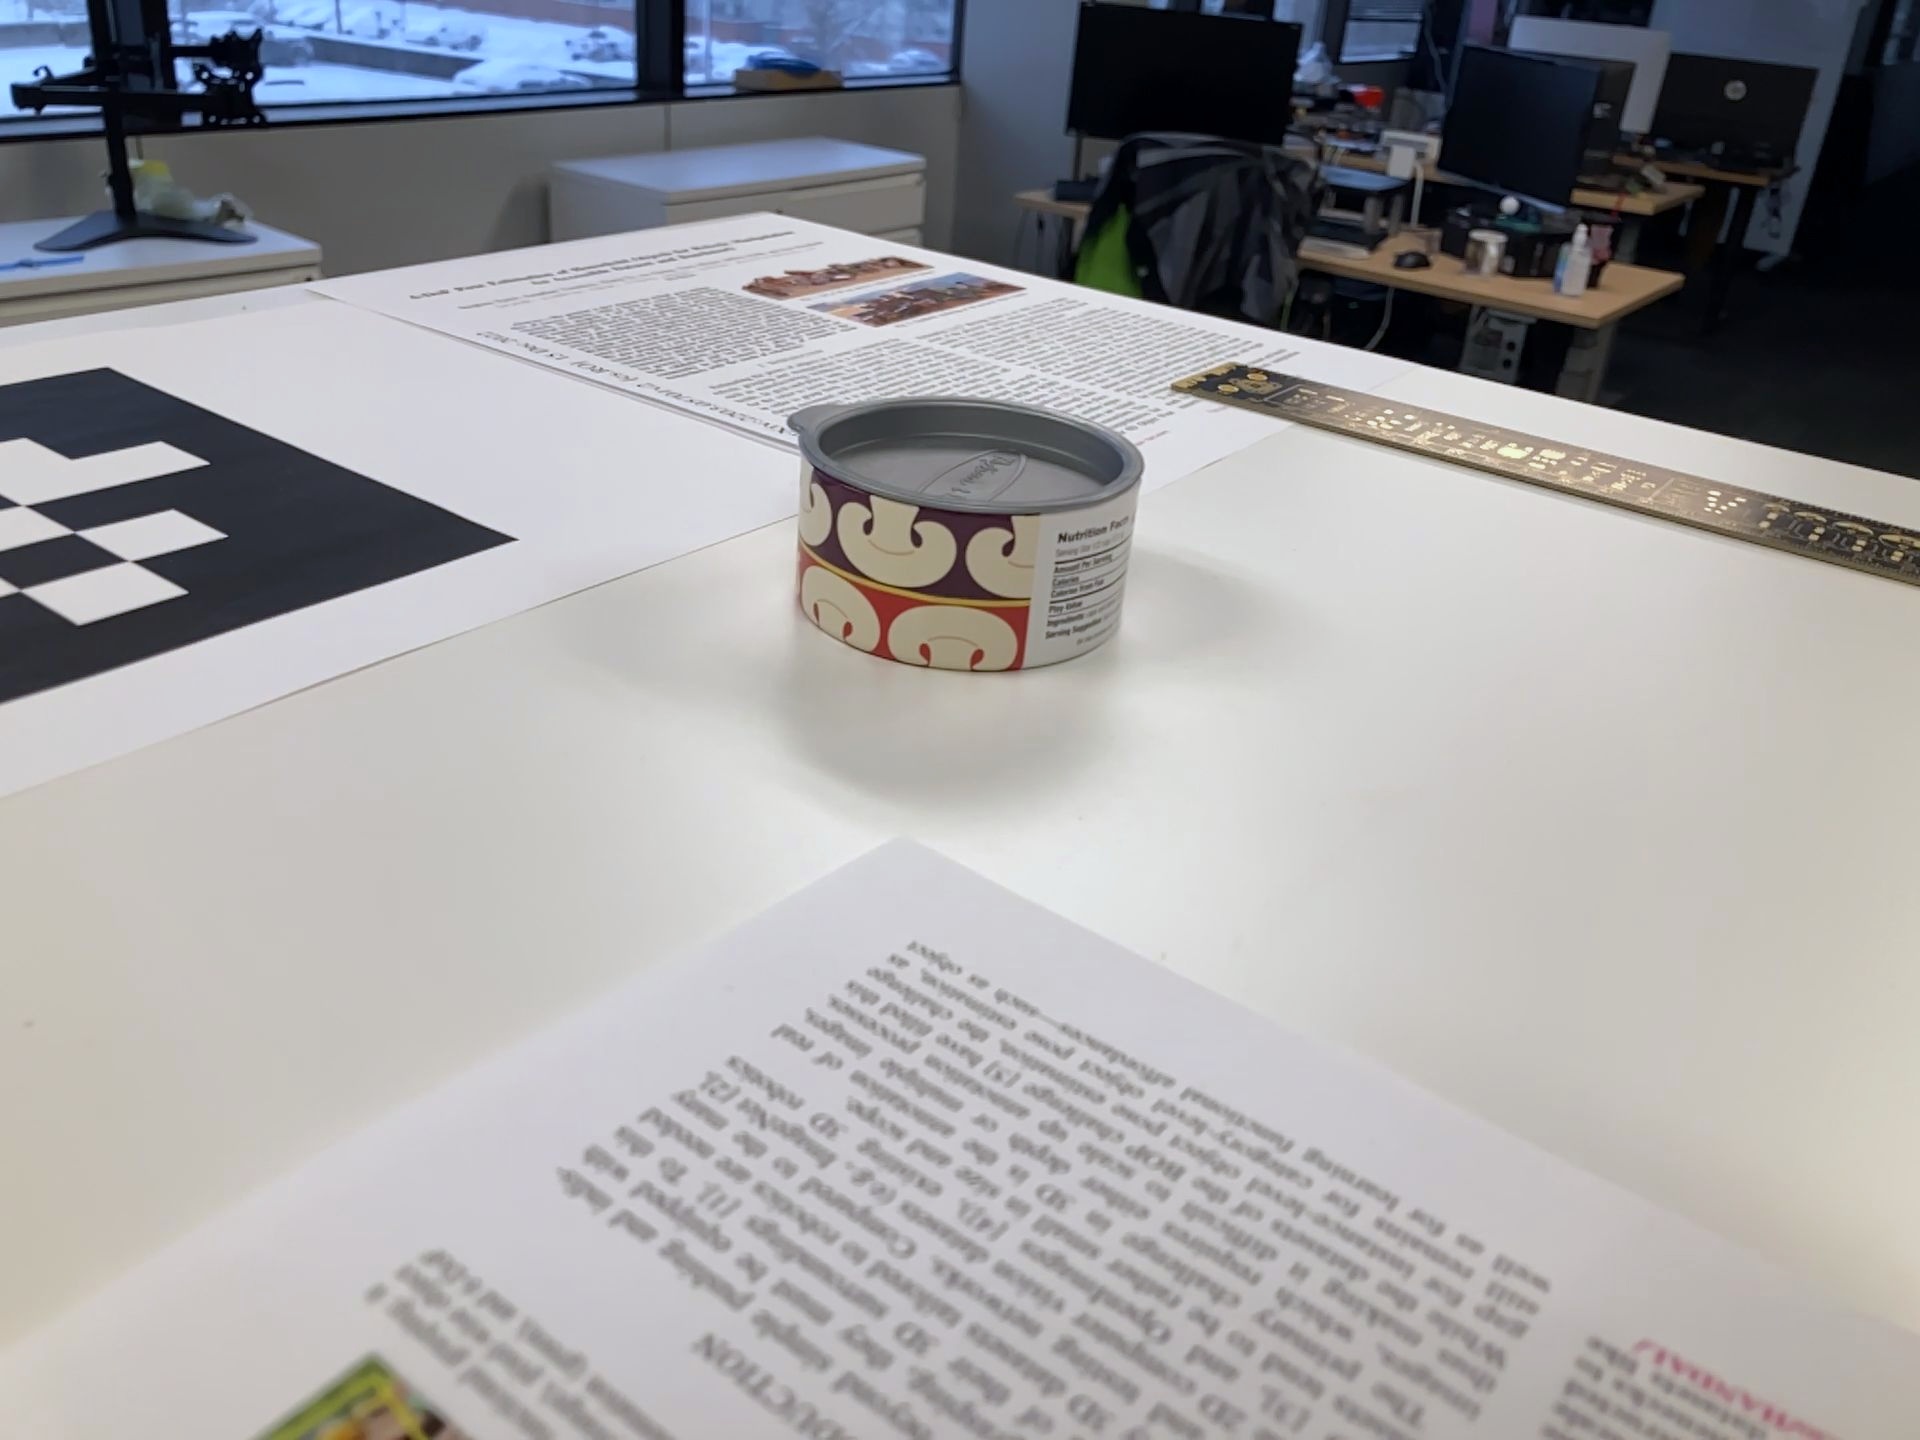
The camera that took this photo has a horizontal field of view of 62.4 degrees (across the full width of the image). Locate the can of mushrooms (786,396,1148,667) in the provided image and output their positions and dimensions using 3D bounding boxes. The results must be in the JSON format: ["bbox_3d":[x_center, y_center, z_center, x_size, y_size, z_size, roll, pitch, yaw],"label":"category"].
[{"bbox_3d":[-0.001,-0.039,0.308,0.071,0.033,0.071,4,28,-2],"label":"can of mushrooms"}]
